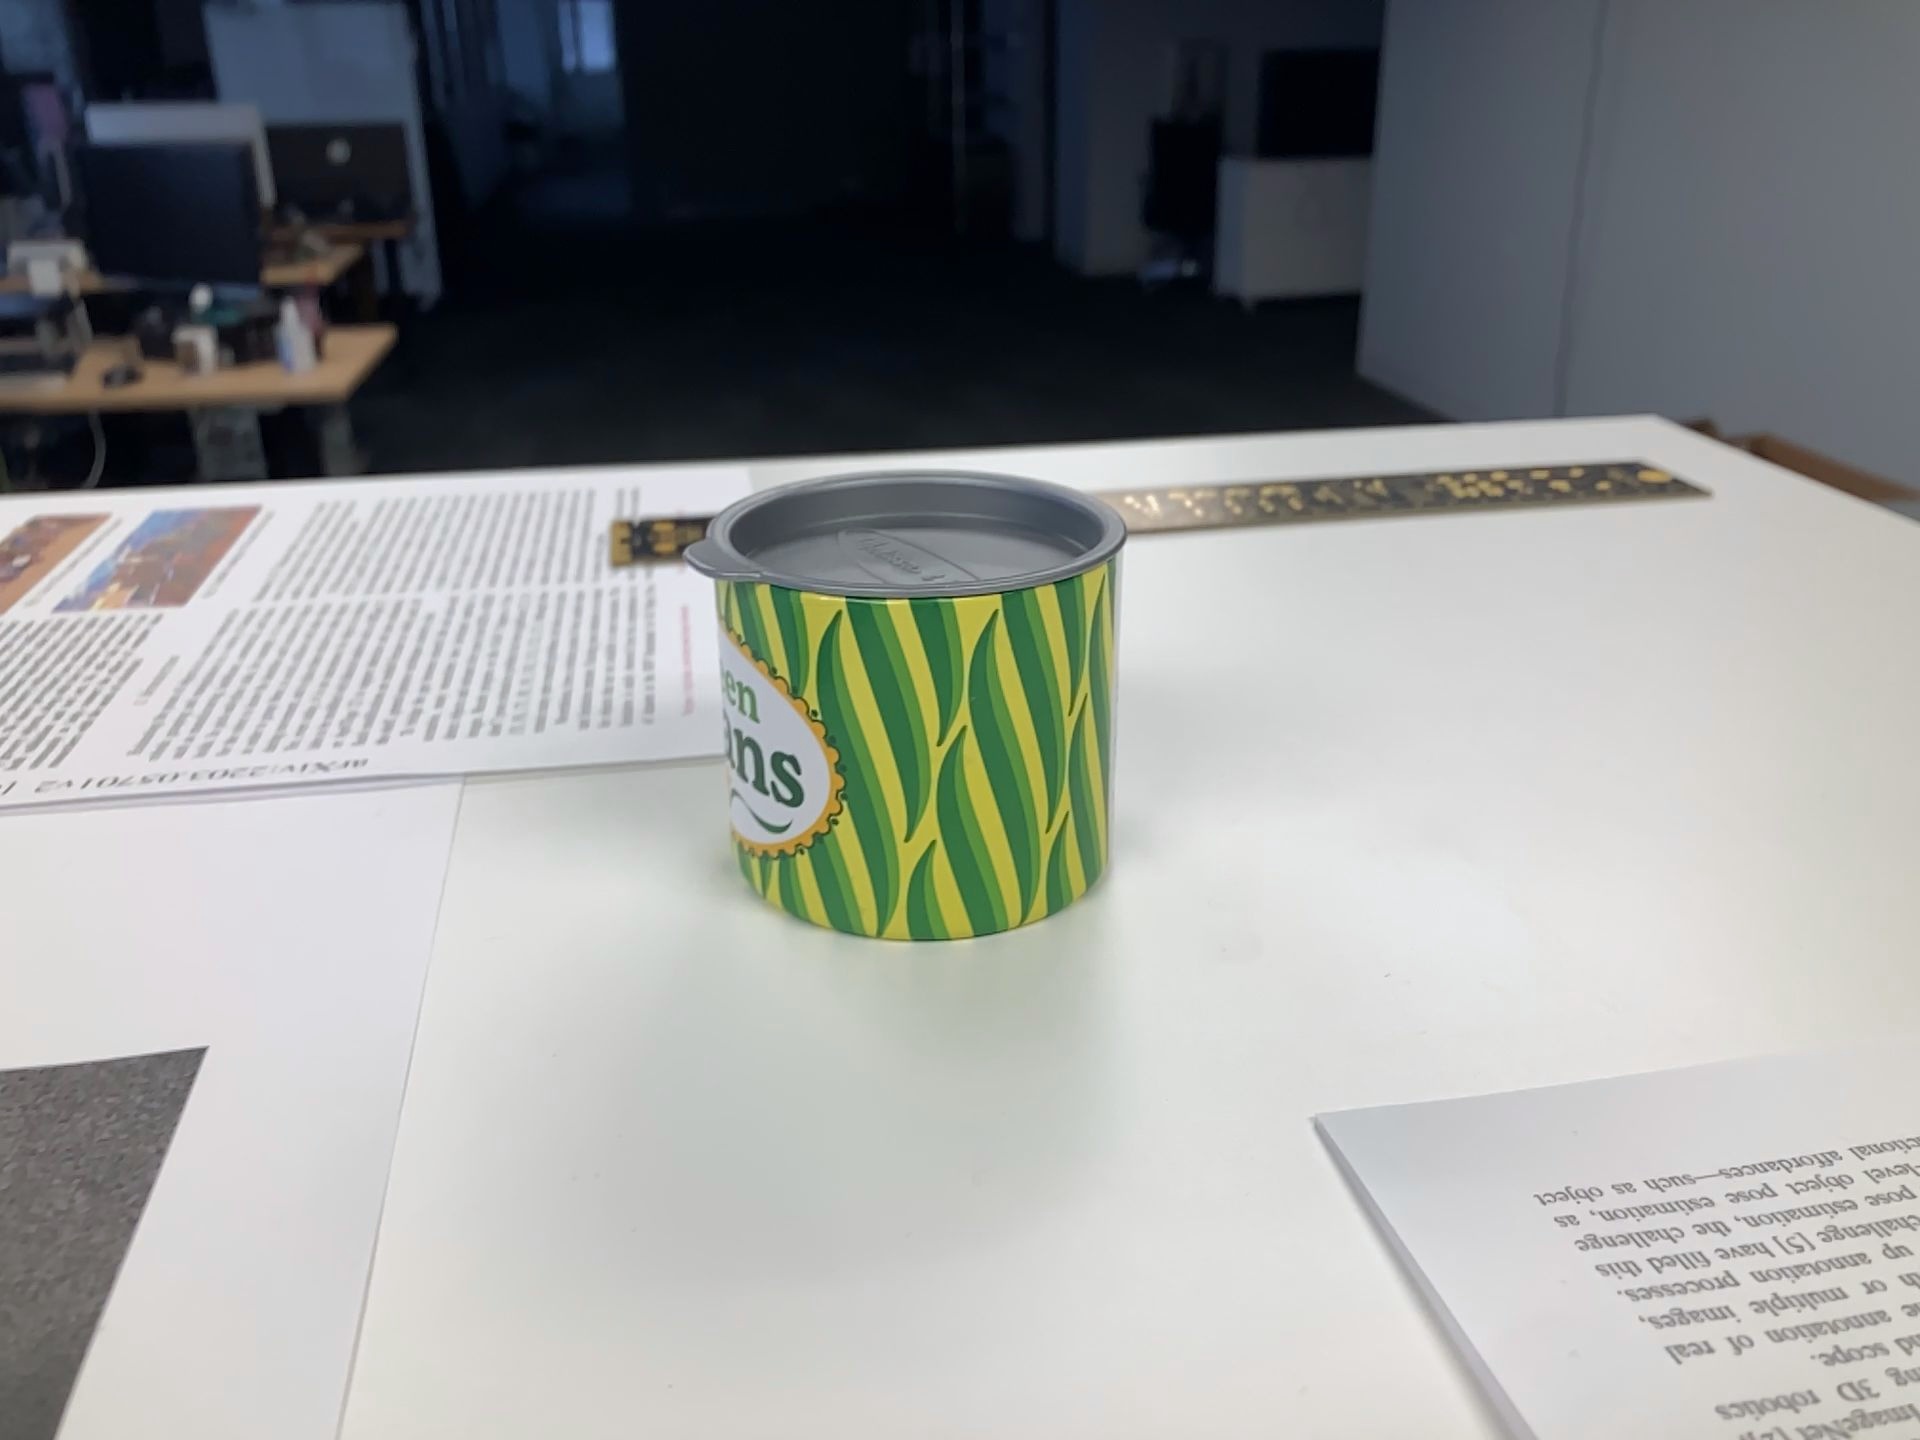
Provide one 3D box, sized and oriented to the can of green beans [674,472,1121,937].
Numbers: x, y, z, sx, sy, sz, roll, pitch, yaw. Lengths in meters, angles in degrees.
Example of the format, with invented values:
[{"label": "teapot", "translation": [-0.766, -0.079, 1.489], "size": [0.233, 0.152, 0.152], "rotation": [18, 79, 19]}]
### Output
[{"label": "can of green beans", "translation": [-0.008, -0.005, 0.264], "size": [0.071, 0.058, 0.071], "rotation": [0, 22, 0]}]
